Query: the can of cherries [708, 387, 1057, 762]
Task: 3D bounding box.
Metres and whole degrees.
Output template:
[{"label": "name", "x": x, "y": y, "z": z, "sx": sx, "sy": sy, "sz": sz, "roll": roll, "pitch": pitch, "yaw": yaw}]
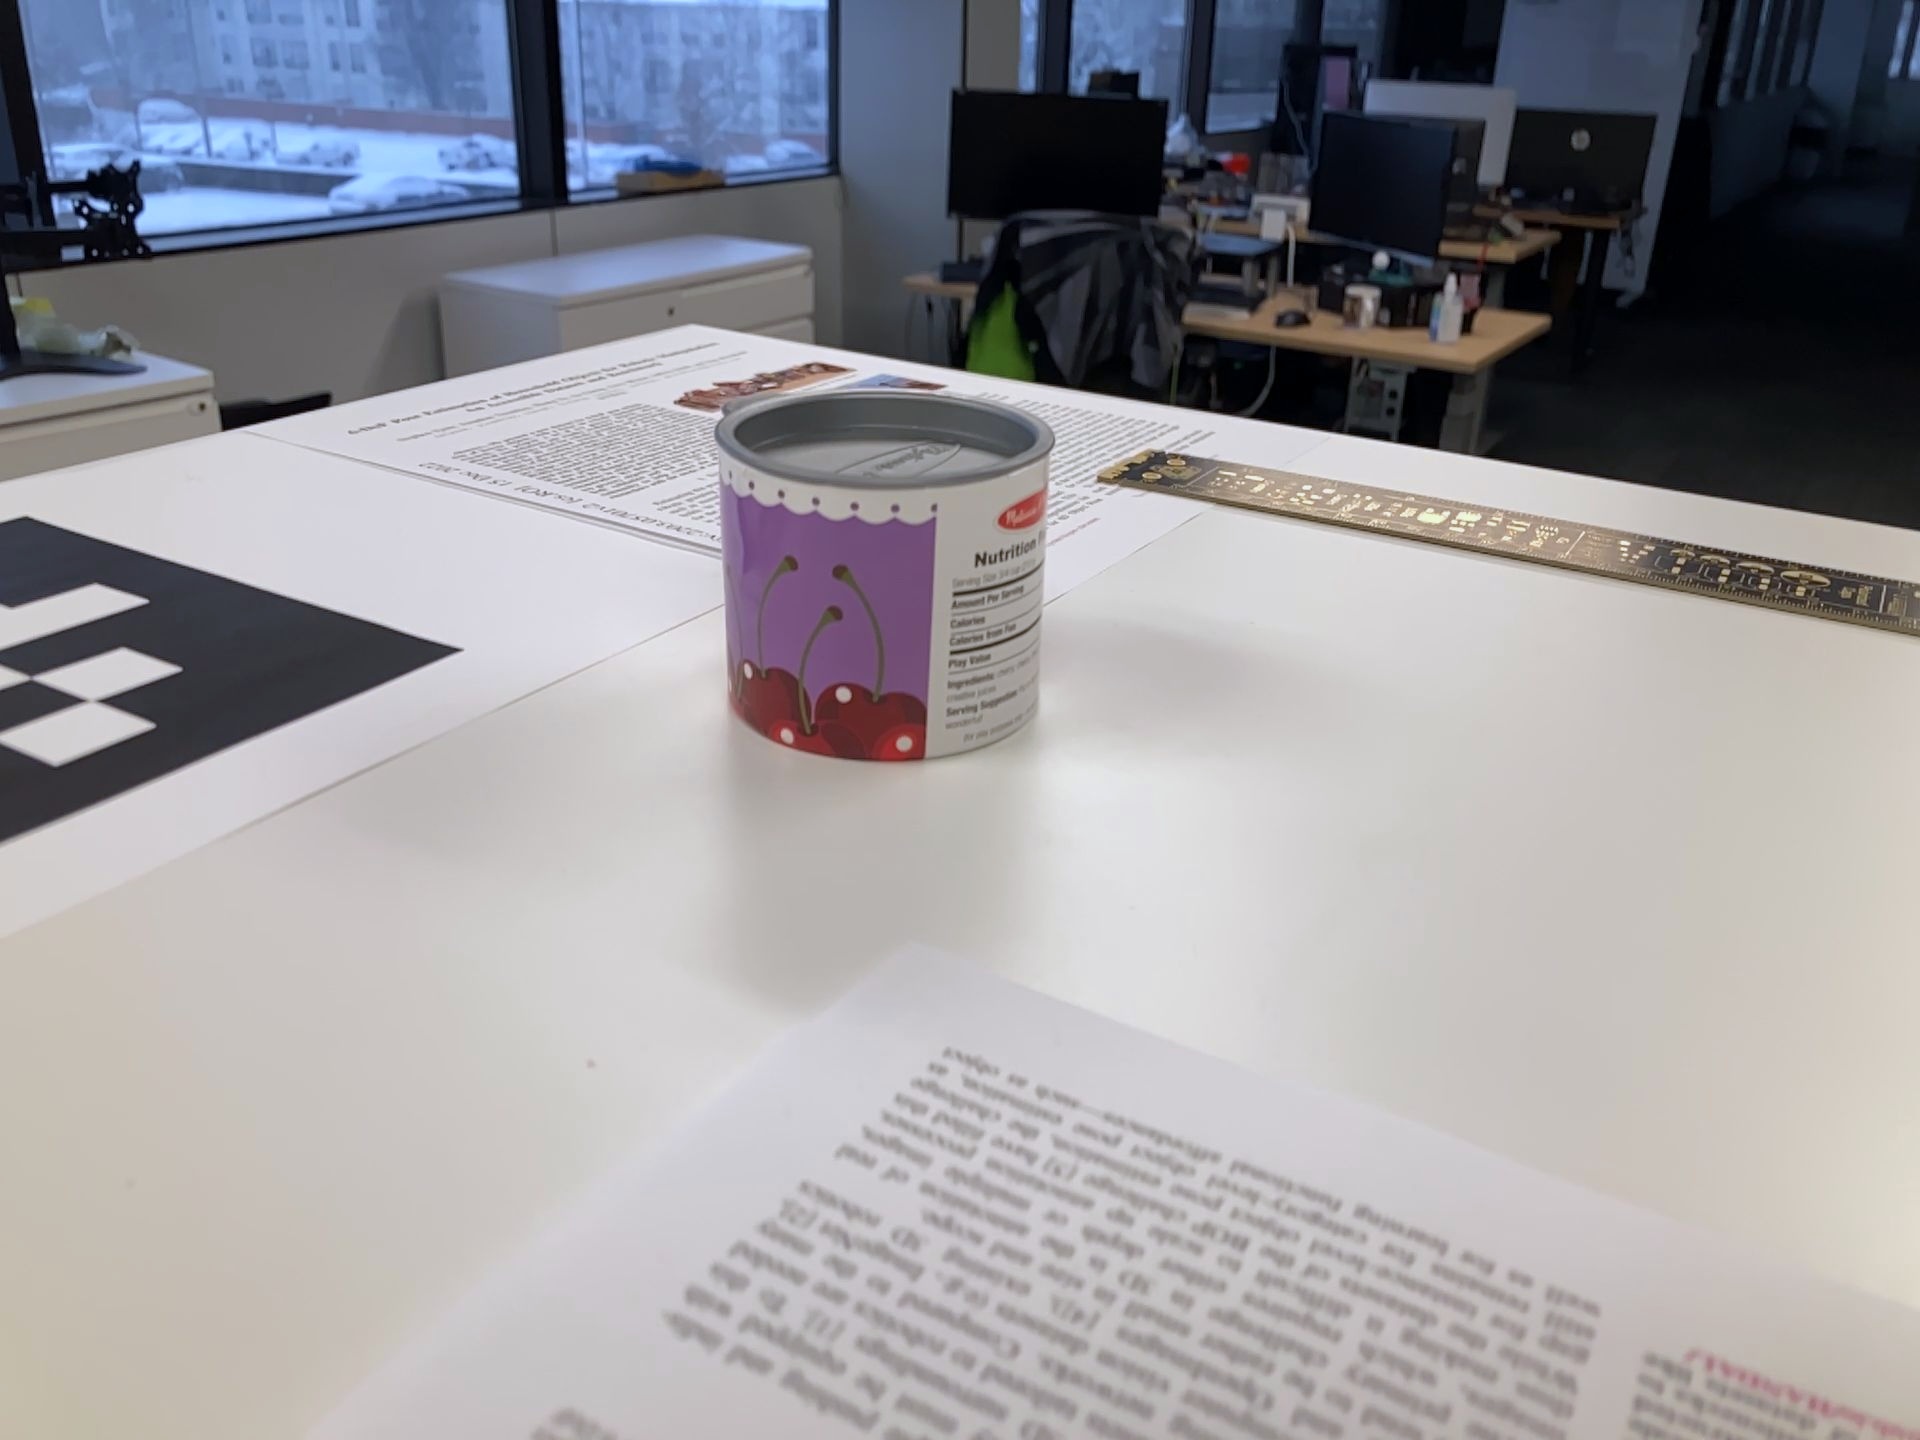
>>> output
[{"label": "can of cherries", "x": -0.017, "y": -0.031, "z": 0.321, "sx": 0.071, "sy": 0.058, "sz": 0.071, "roll": 1, "pitch": 25, "yaw": -1}]
